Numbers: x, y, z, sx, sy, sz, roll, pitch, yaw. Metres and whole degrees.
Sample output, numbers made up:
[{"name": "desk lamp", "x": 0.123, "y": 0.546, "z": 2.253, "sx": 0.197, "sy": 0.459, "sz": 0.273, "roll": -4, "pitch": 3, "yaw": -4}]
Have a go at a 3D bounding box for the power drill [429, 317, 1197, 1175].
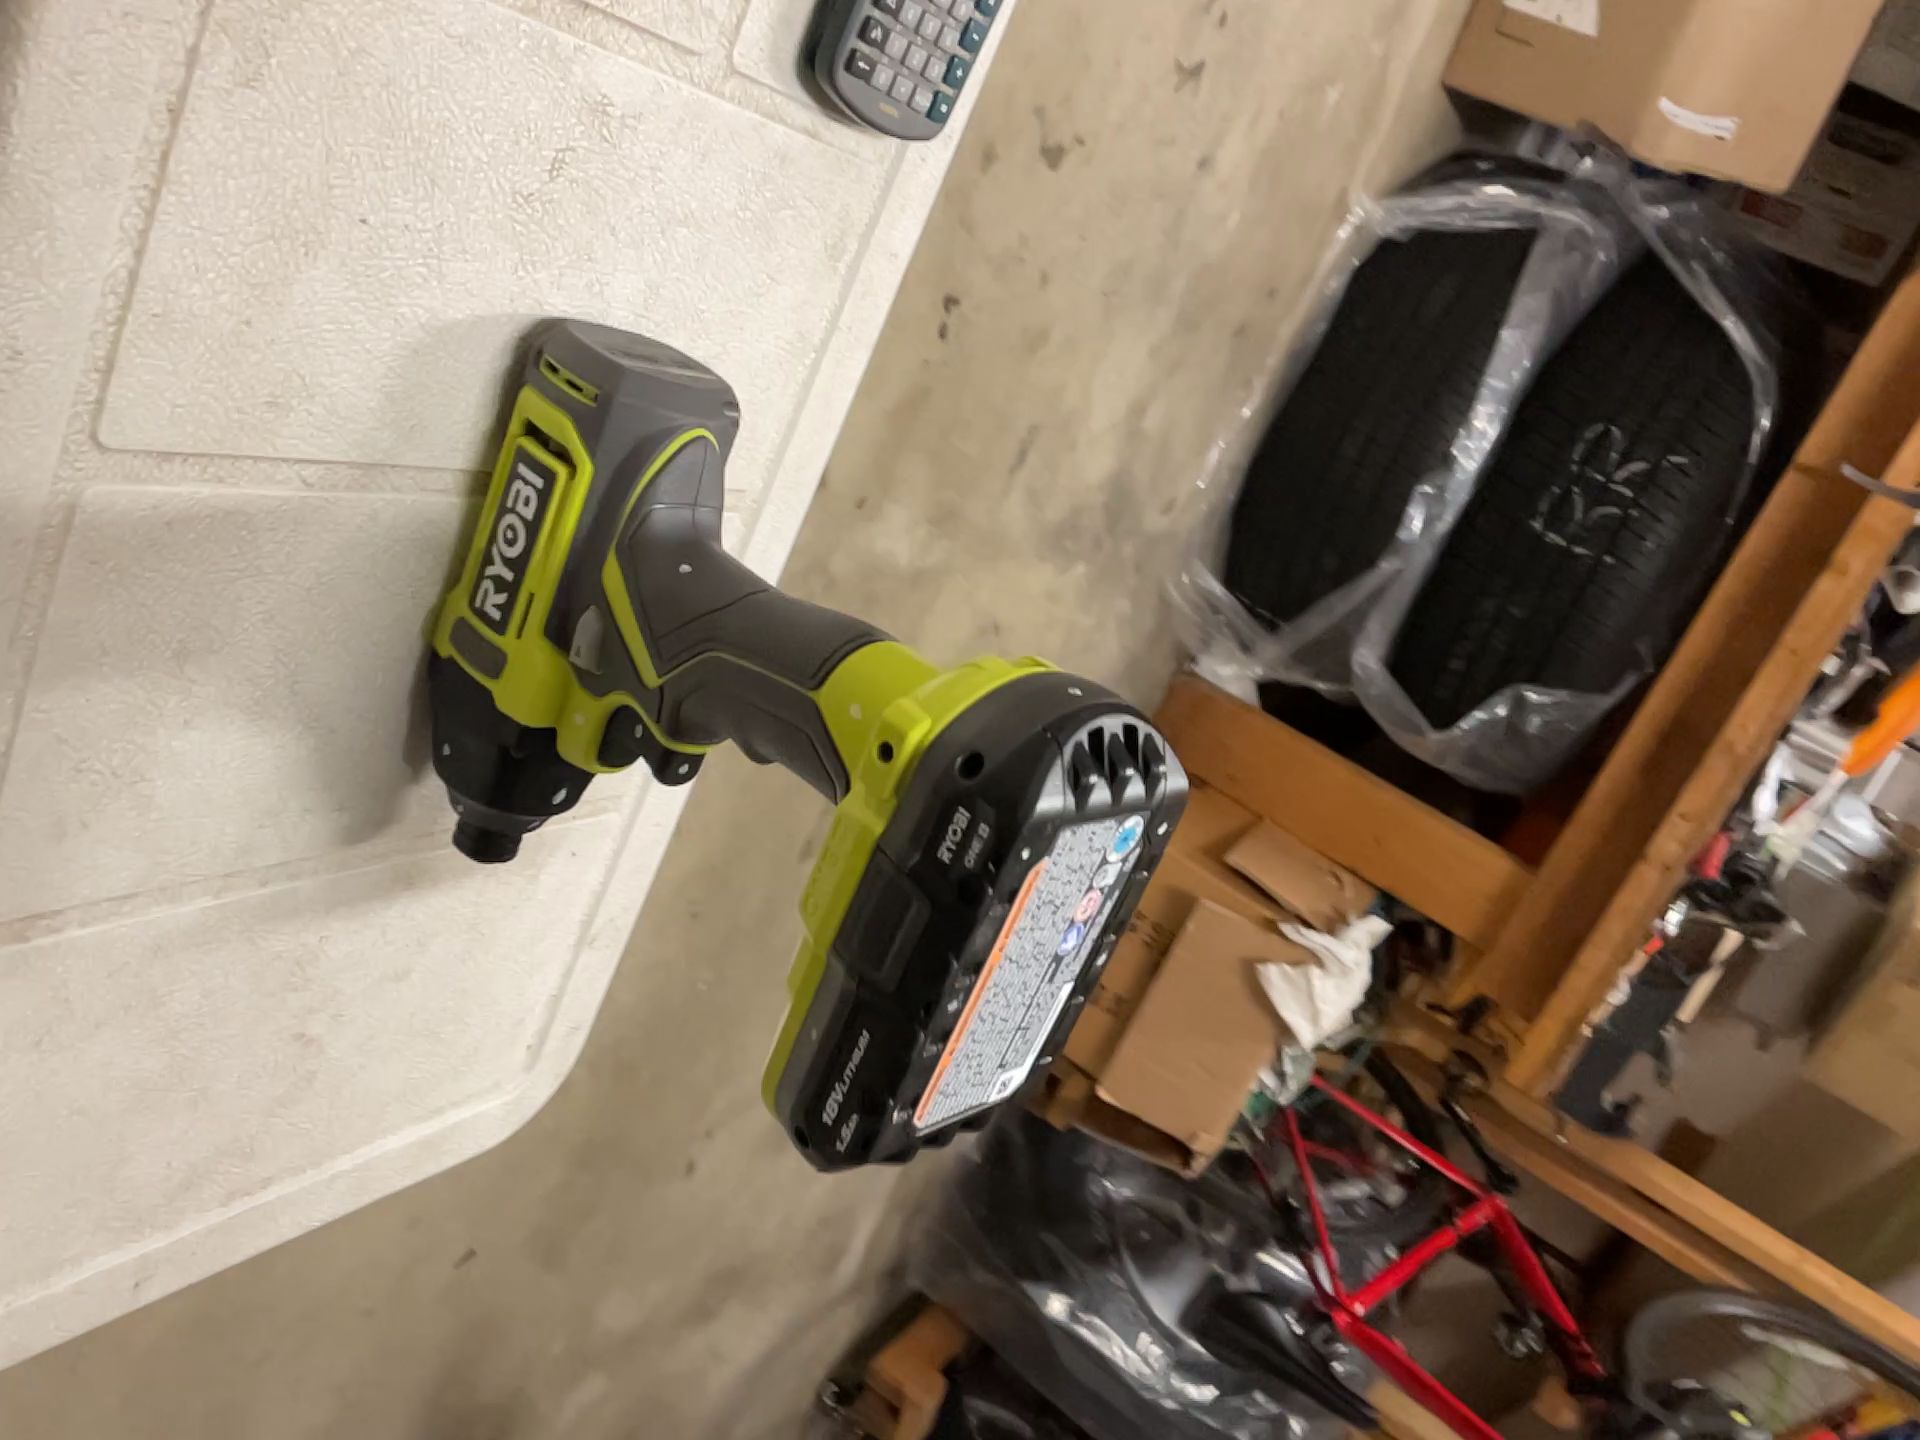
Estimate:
[{"name": "power drill", "x": -0.061, "y": 0.011, "z": 0.440, "sx": 0.080, "sy": 0.223, "sz": 0.171, "roll": -4, "pitch": 123, "yaw": -53}]
